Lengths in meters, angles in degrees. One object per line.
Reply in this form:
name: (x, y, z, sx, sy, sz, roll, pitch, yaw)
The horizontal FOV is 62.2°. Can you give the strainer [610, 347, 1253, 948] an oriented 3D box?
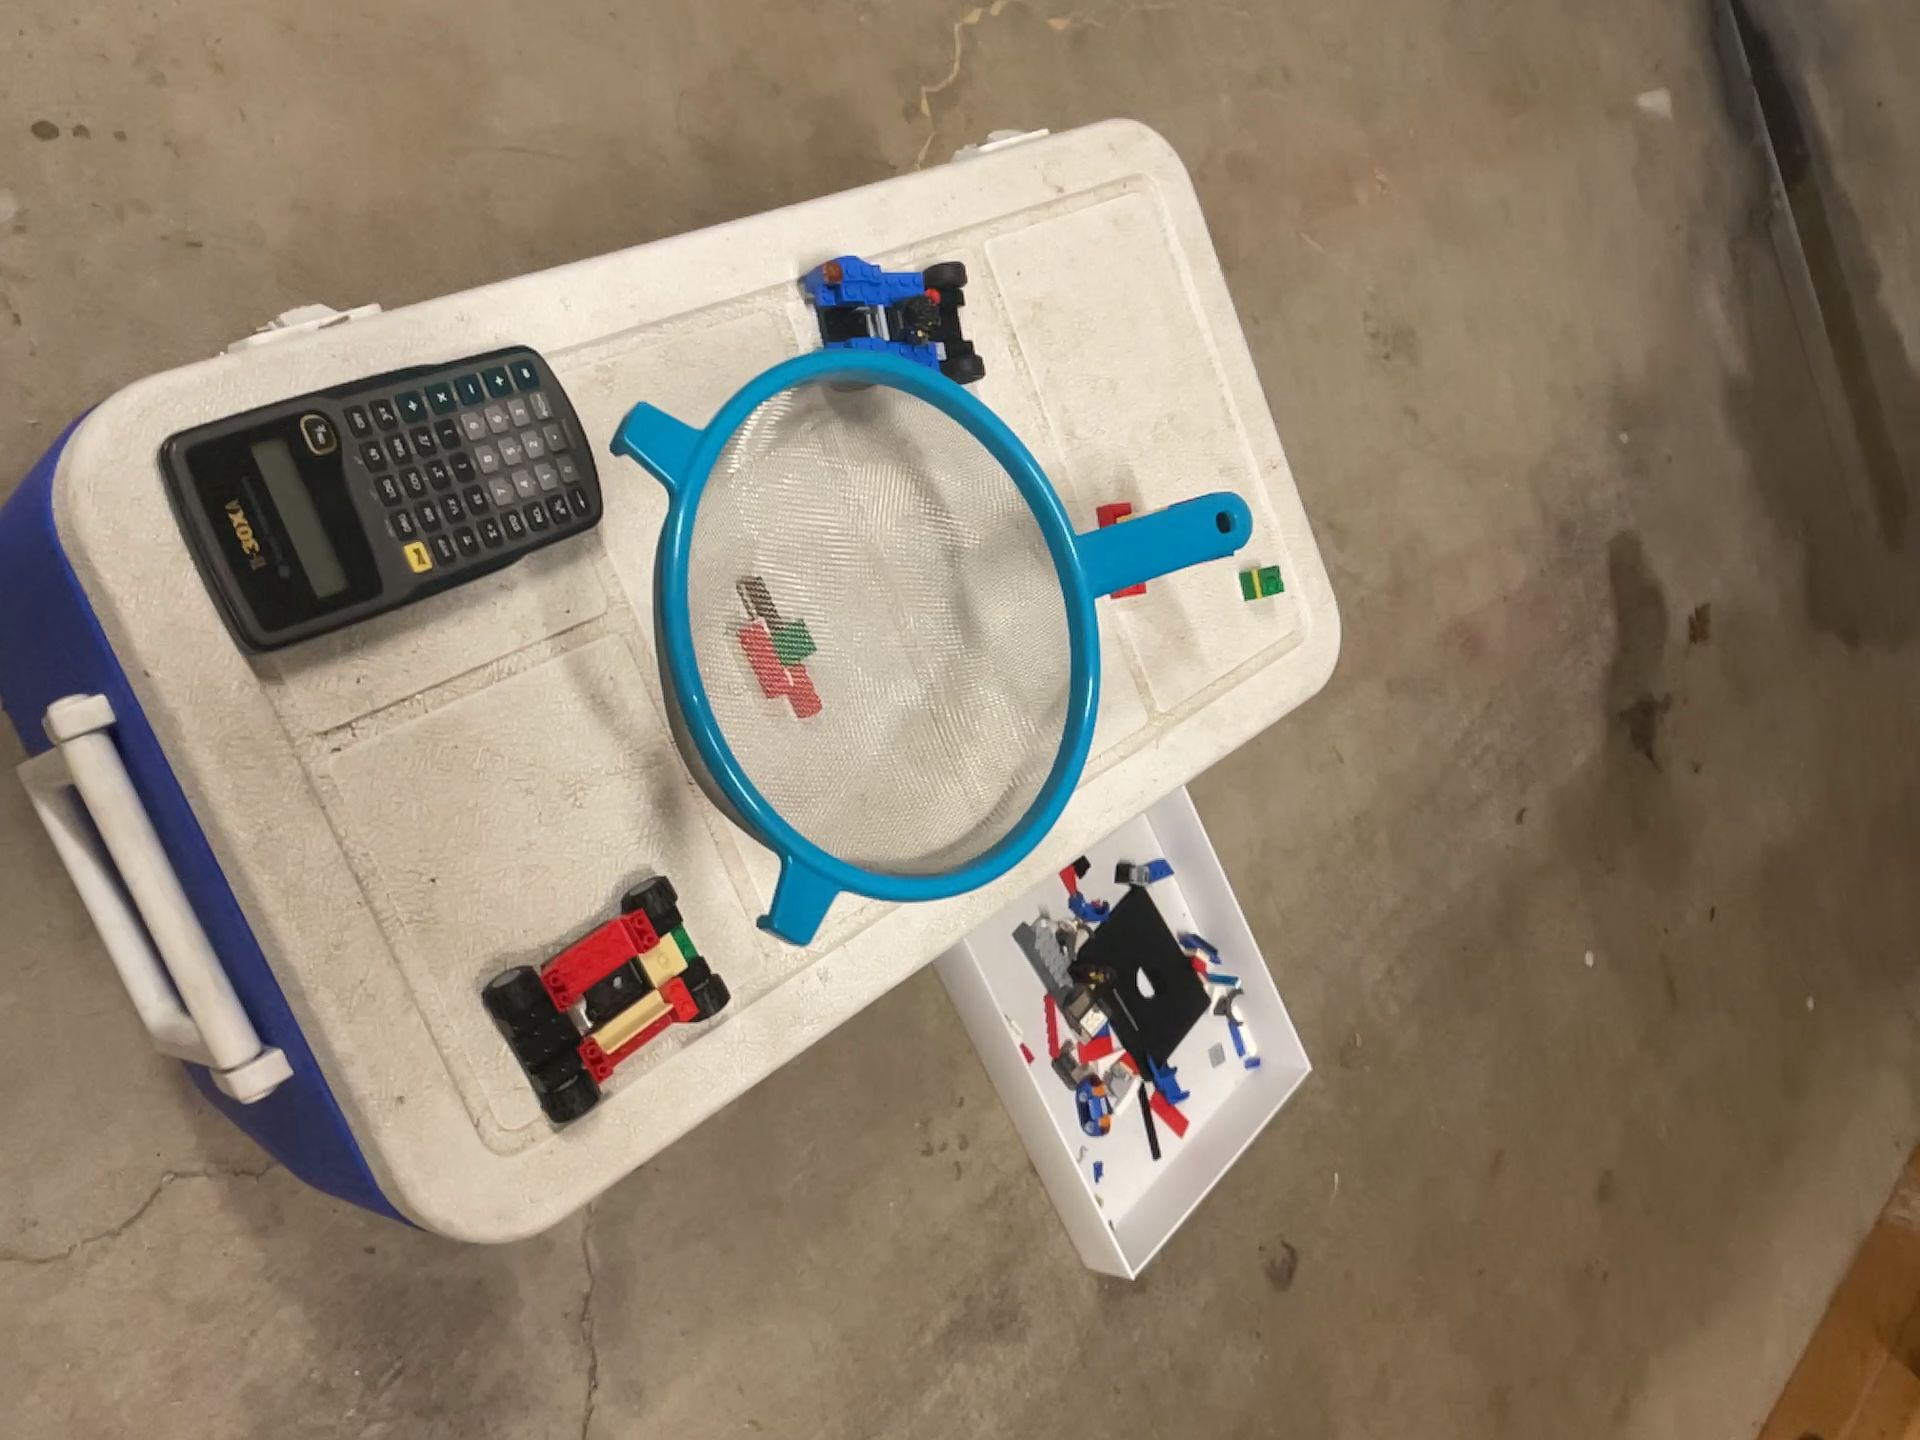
strainer: (-0.004, -0.048, 0.673, 0.340, 0.095, 0.211, -21, 96, -44)
